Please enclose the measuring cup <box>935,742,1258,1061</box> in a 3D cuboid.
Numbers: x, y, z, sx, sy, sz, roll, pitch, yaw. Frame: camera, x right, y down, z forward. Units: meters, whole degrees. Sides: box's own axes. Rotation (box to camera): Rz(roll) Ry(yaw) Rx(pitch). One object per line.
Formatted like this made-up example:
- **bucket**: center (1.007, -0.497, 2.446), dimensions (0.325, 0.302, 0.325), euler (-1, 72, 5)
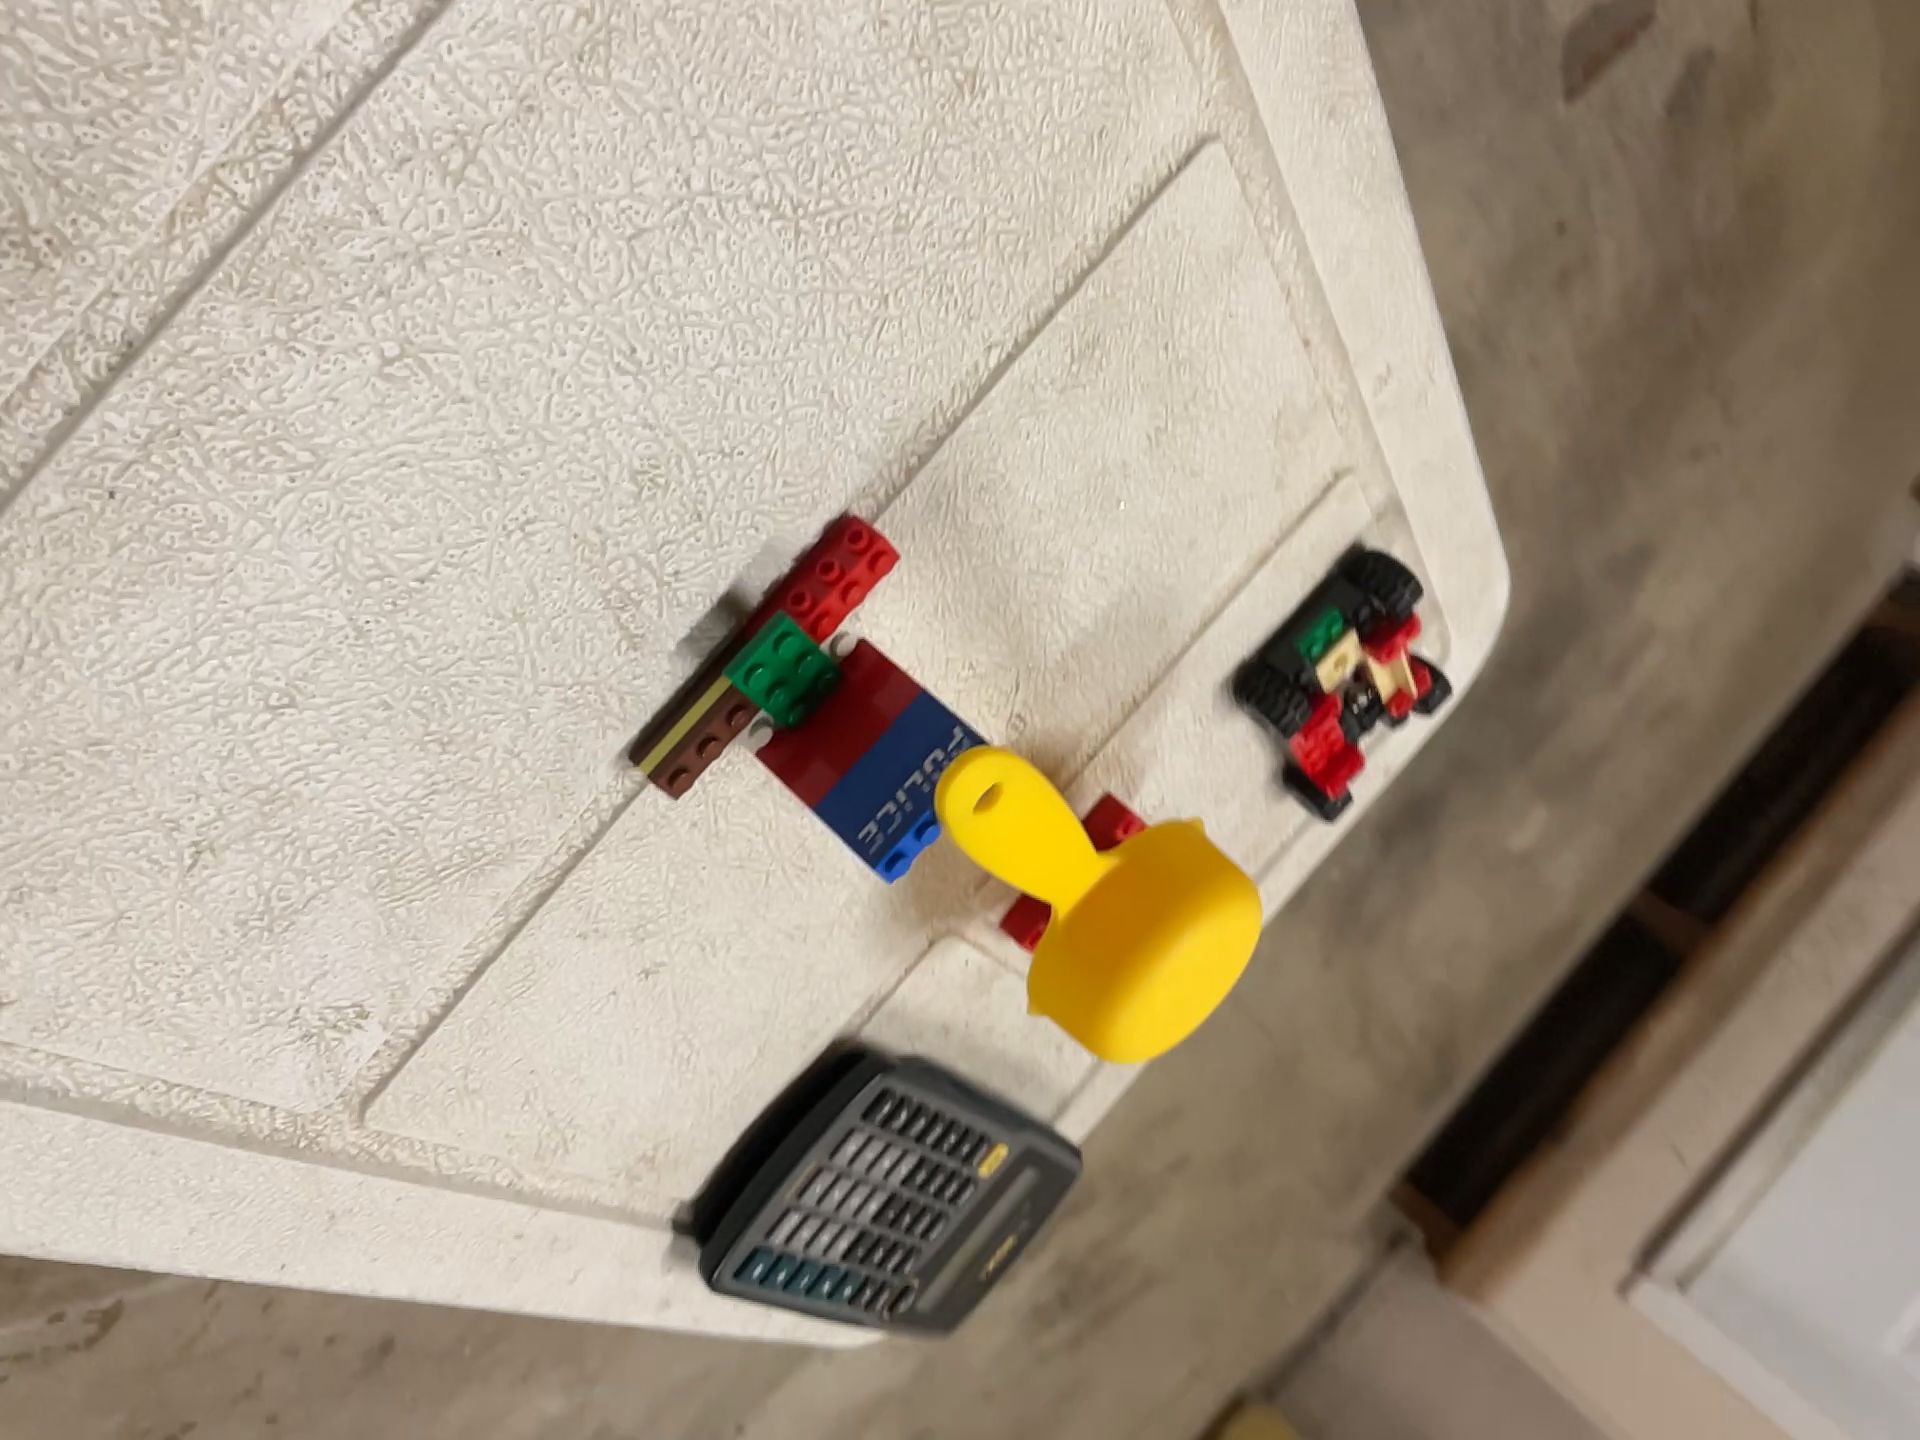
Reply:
- **measuring cup**: center (0.032, 0.040, 0.348), dimensions (0.062, 0.029, 0.156), euler (-48, 152, -2)
